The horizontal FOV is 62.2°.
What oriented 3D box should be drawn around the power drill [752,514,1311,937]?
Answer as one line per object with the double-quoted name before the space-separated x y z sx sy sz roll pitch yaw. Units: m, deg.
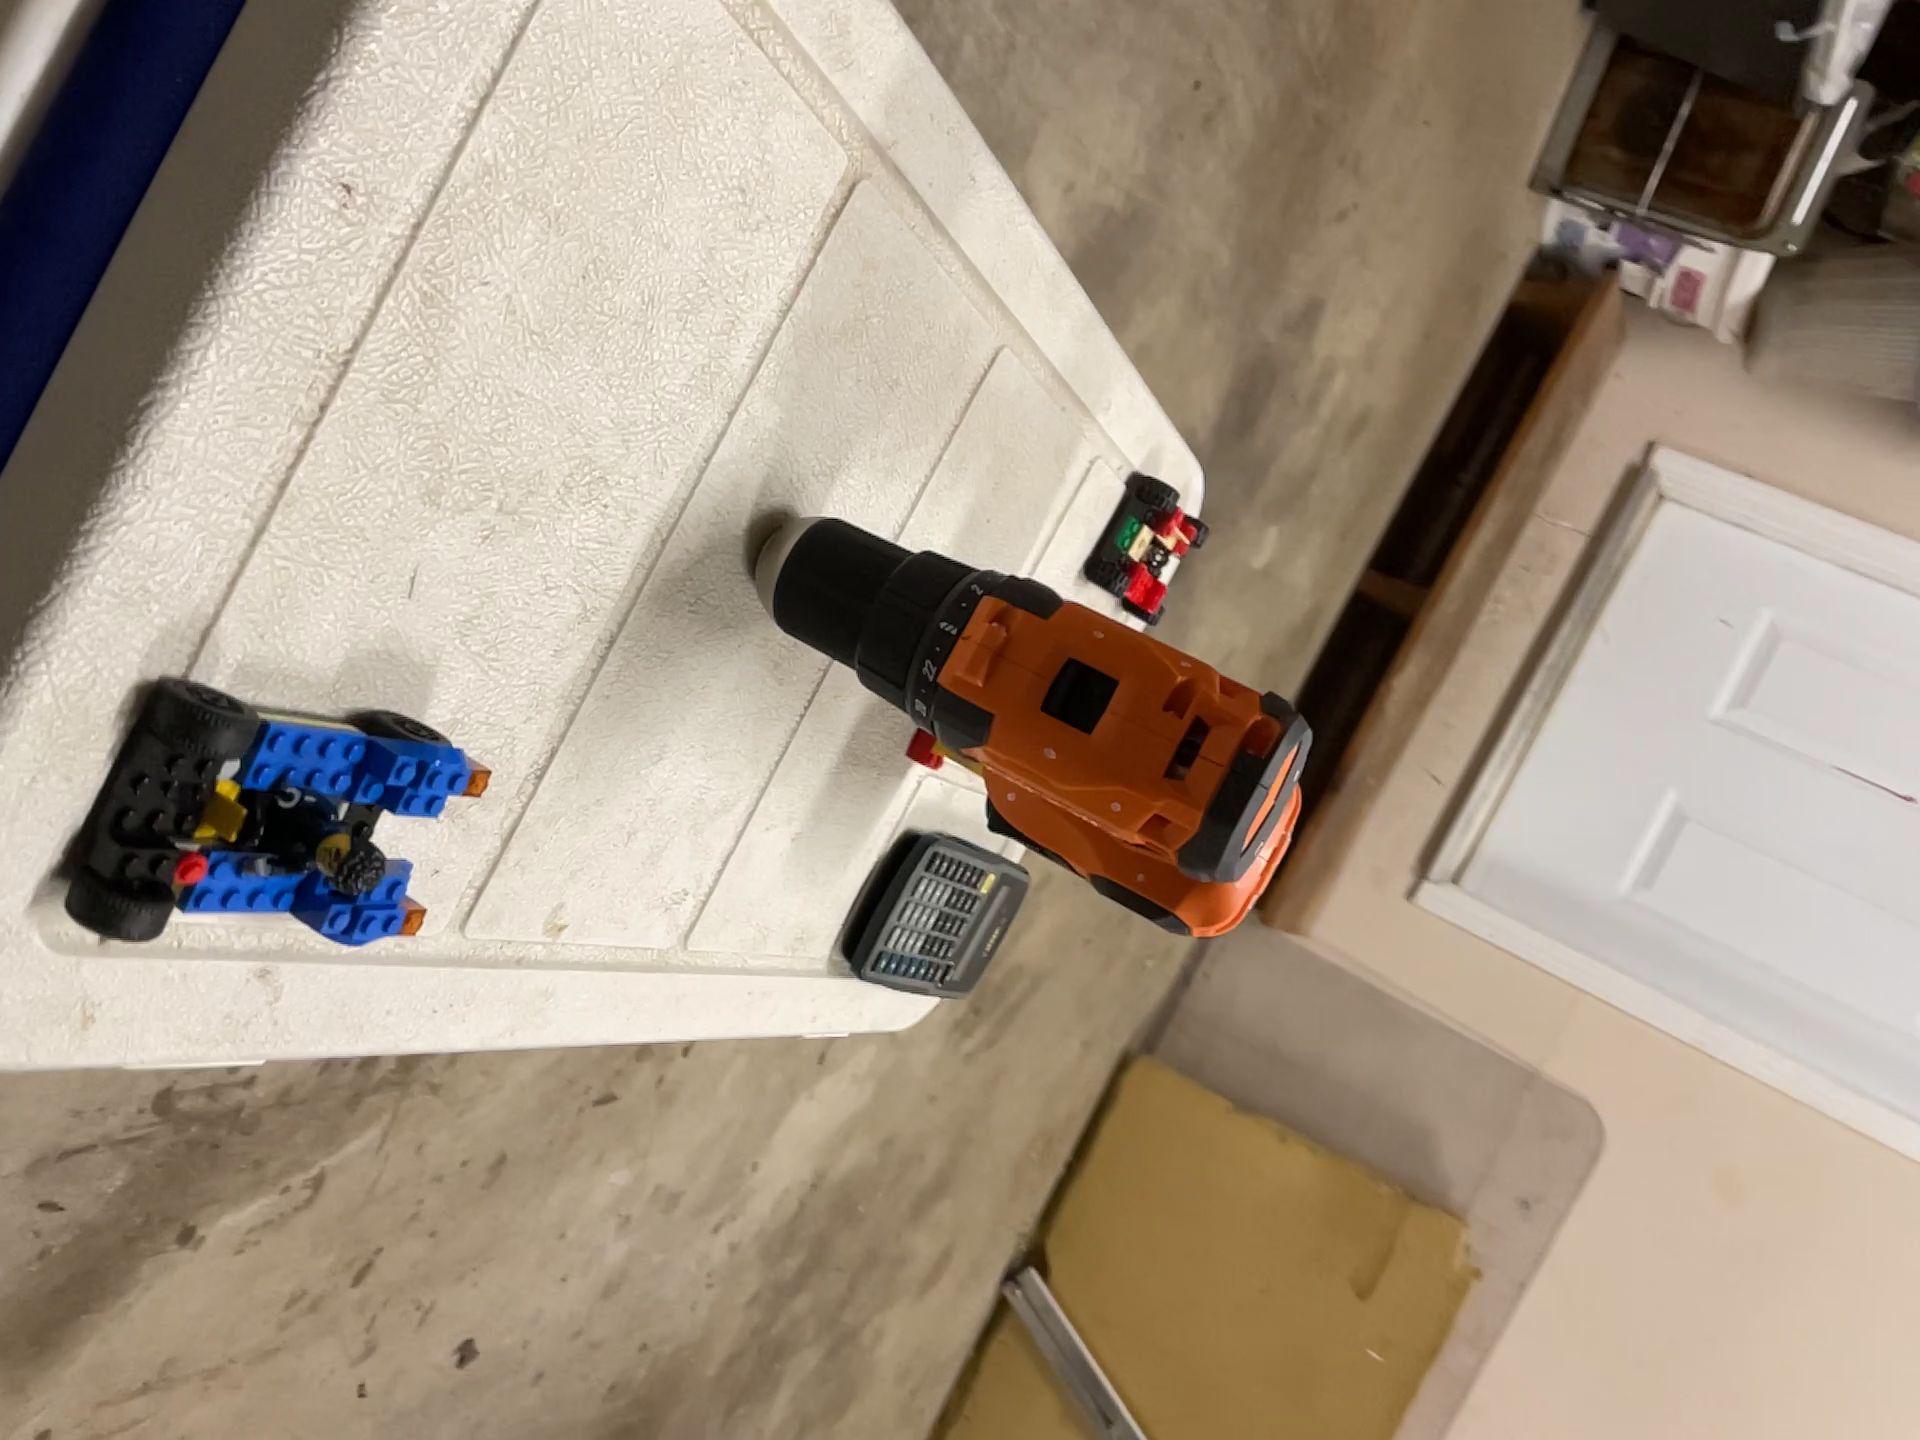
"power drill" 0.033 0.003 0.573 0.084 0.185 0.226 -61 163 -5
